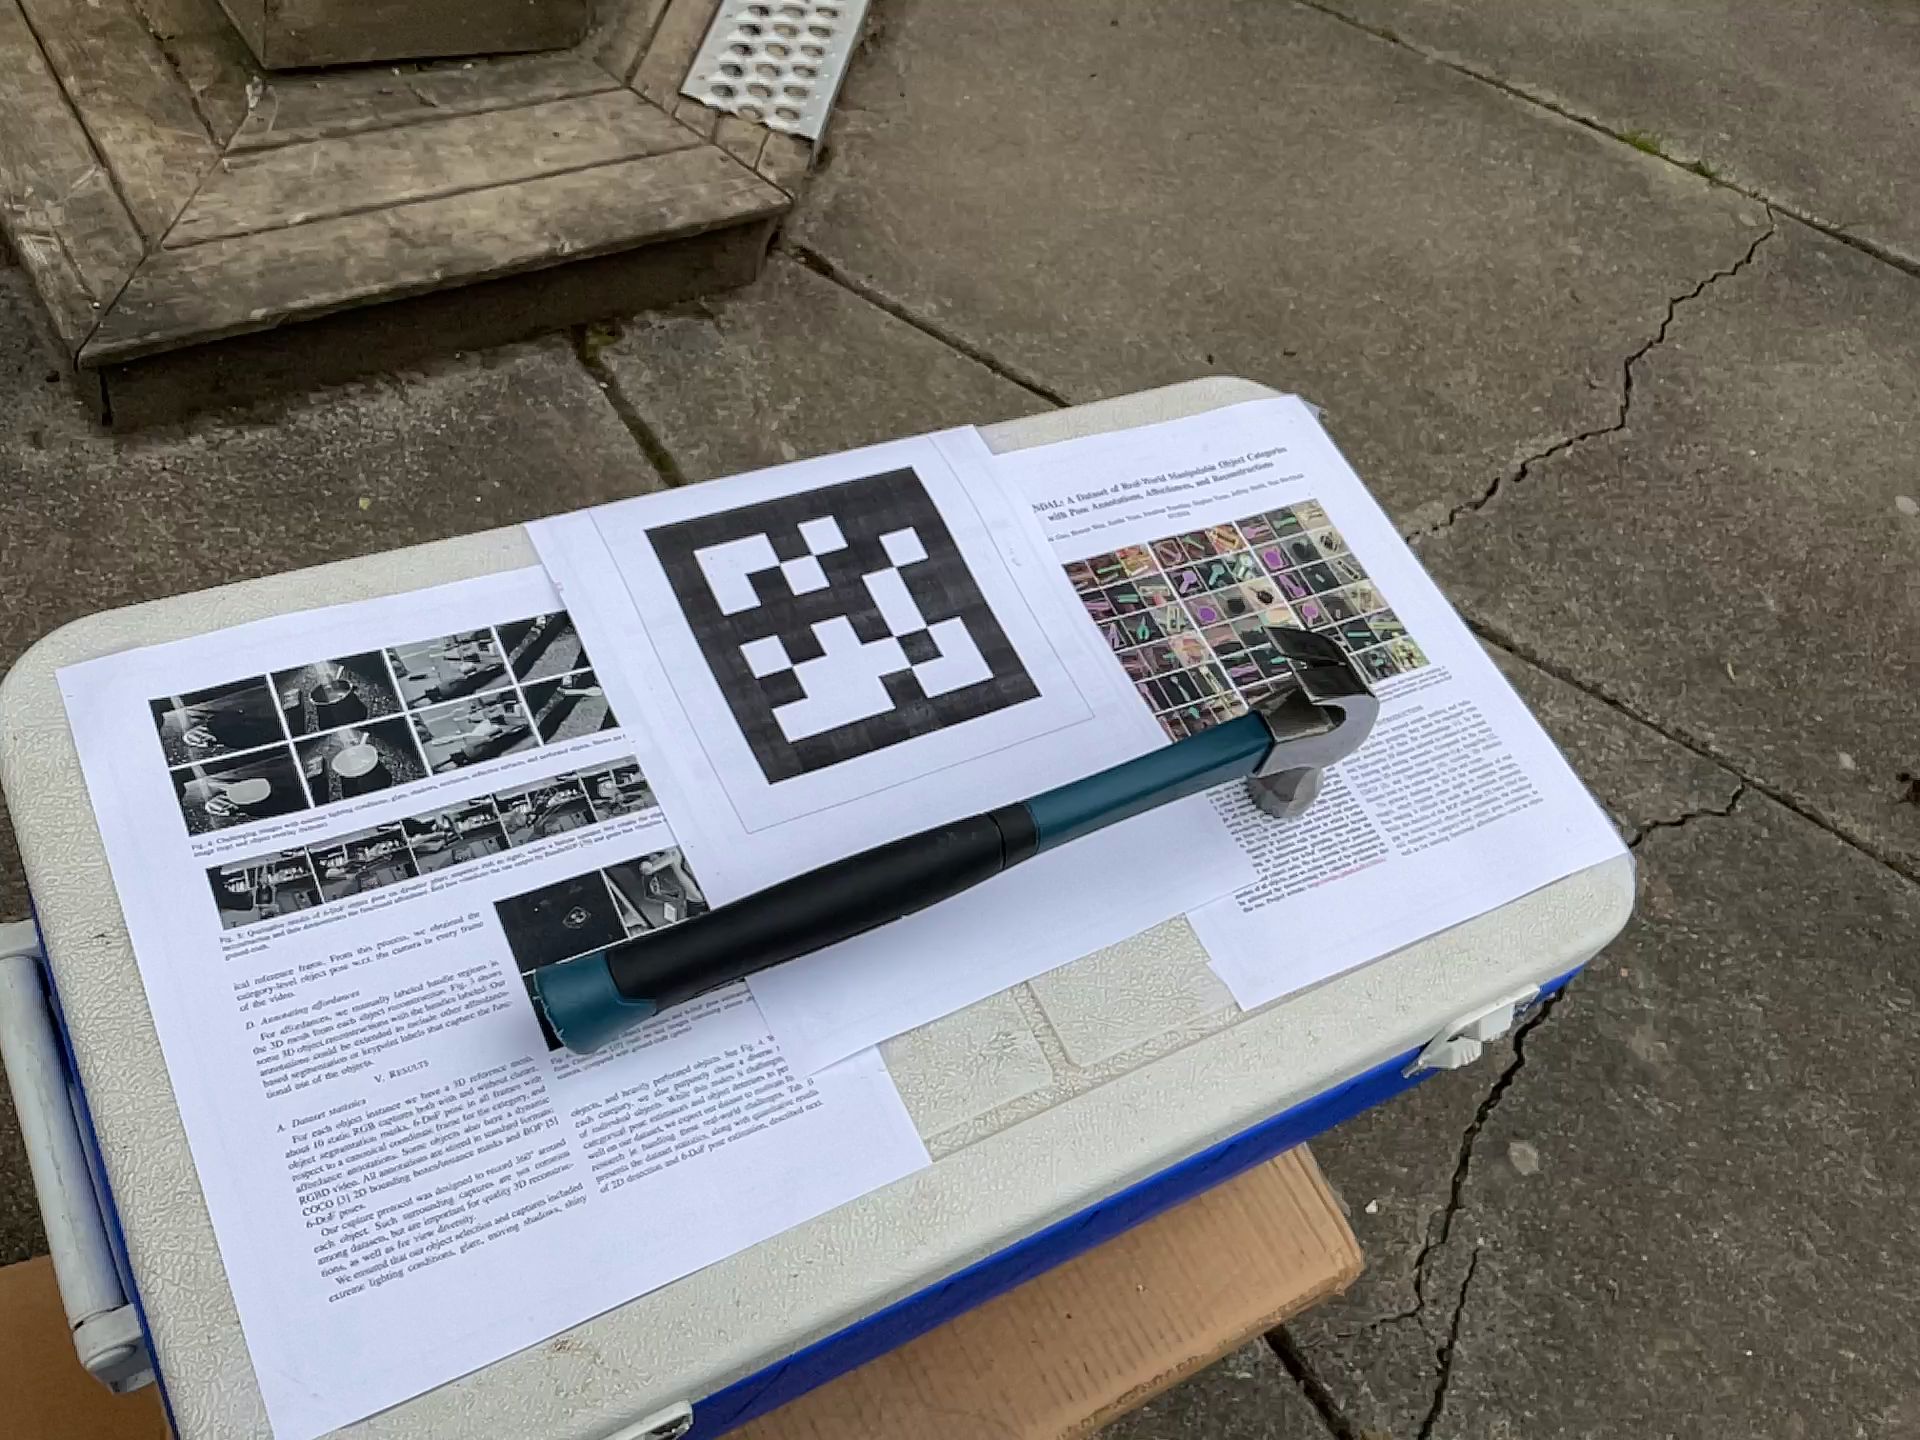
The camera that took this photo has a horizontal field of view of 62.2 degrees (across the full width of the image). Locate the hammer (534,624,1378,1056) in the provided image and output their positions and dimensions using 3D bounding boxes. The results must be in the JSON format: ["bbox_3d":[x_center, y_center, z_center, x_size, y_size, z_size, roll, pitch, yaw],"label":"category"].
[{"bbox_3d":[0.011,0.046,0.578,0.331,0.128,0.033,-20,64,-19],"label":"hammer"}]
